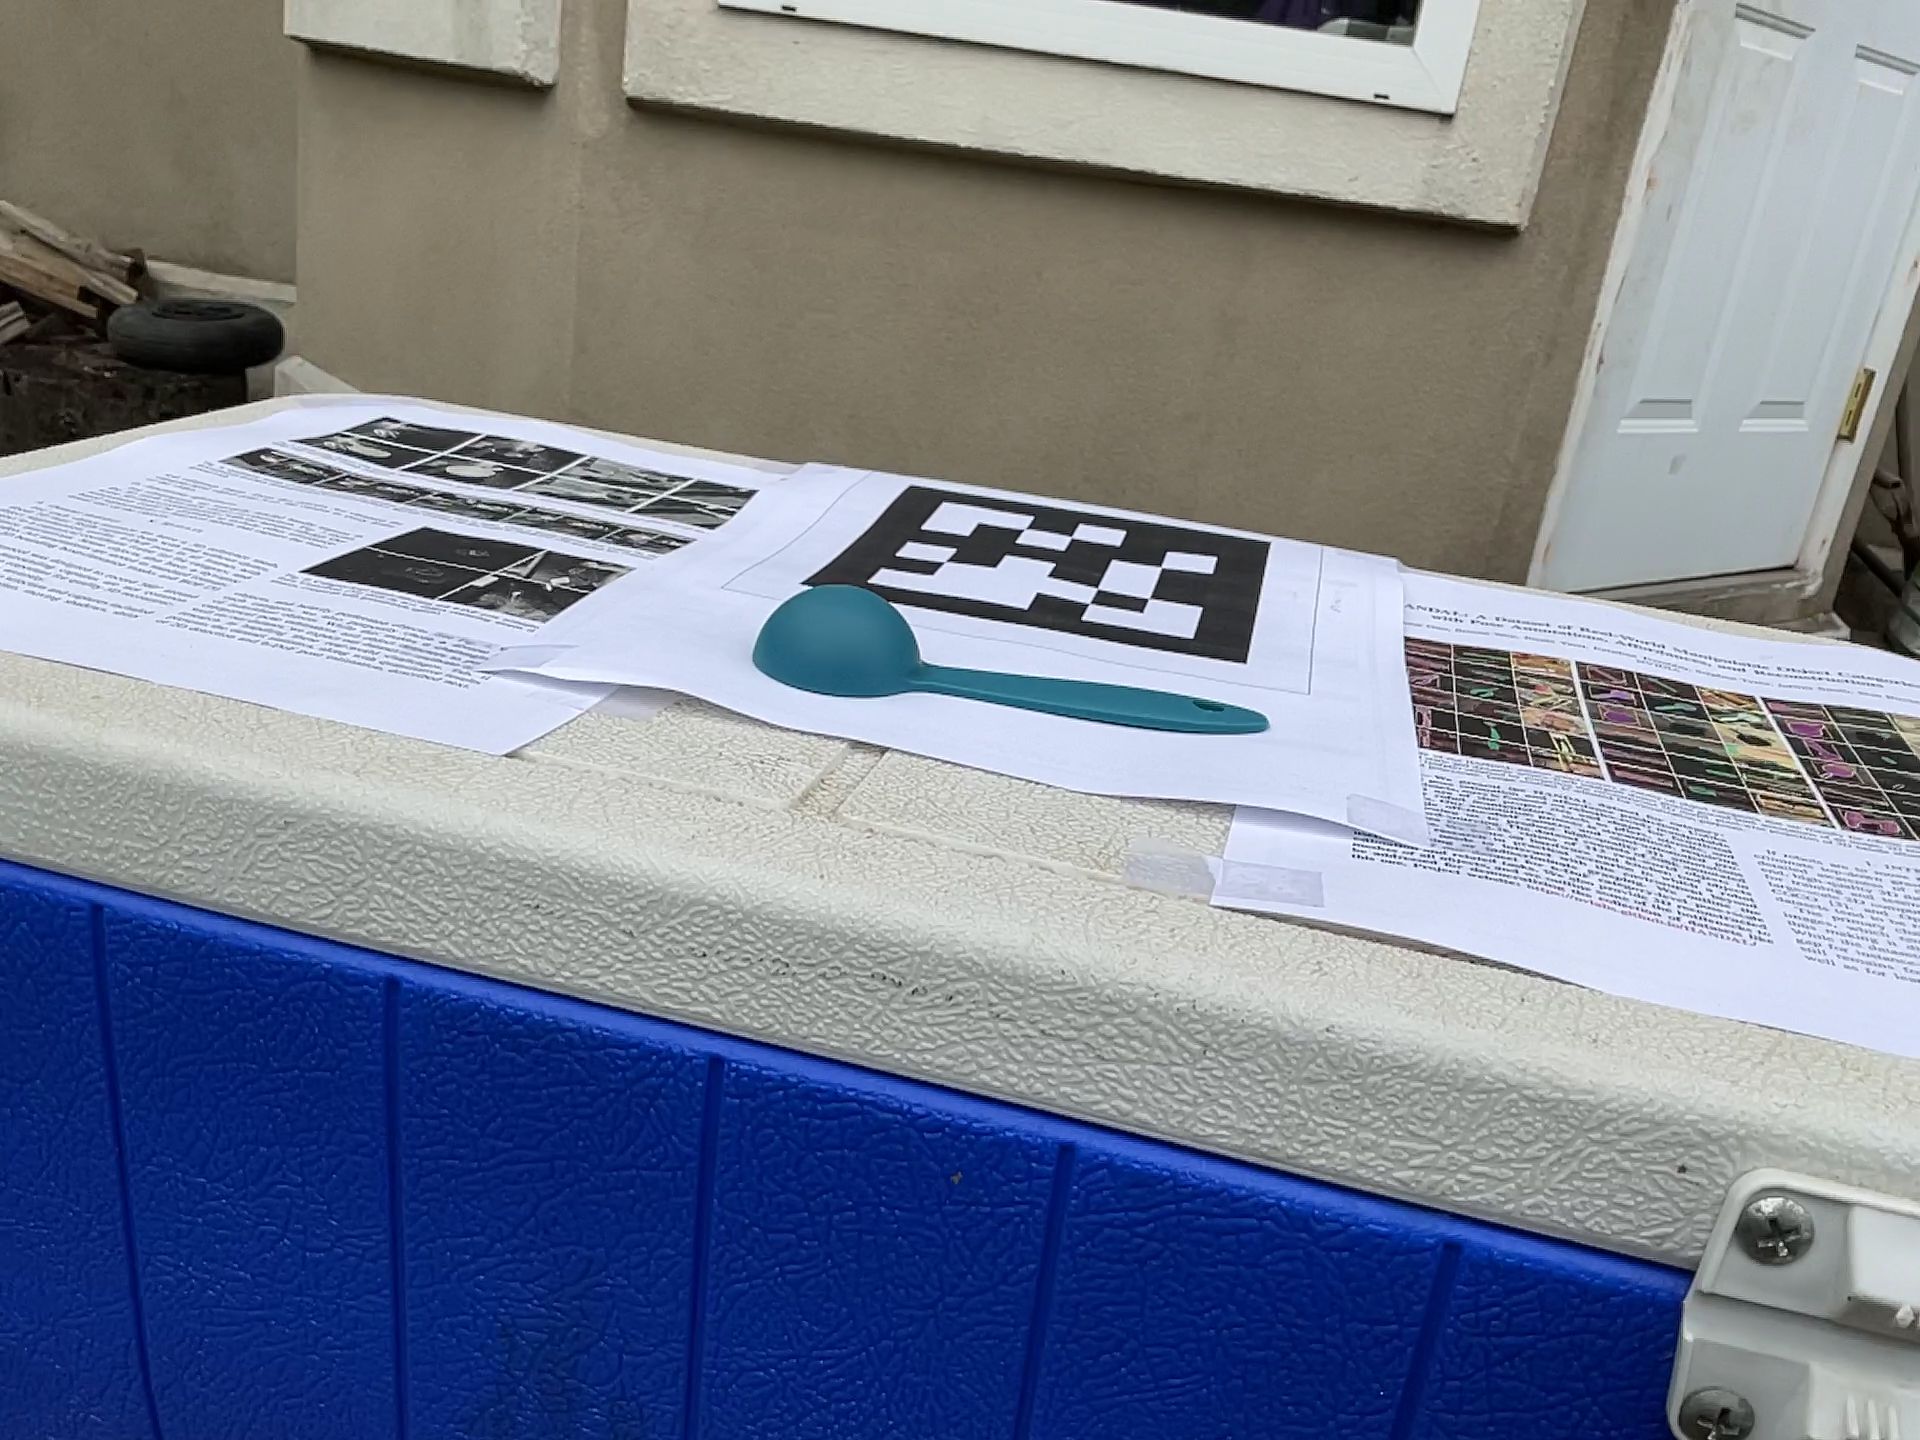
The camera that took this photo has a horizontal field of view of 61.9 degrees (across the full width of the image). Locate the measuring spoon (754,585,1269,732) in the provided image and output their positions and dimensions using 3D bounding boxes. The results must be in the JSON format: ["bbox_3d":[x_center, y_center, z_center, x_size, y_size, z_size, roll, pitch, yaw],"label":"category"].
[{"bbox_3d":[0.013,-0.016,0.396,0.128,0.021,0.042,8,15,2],"label":"measuring spoon"}]
